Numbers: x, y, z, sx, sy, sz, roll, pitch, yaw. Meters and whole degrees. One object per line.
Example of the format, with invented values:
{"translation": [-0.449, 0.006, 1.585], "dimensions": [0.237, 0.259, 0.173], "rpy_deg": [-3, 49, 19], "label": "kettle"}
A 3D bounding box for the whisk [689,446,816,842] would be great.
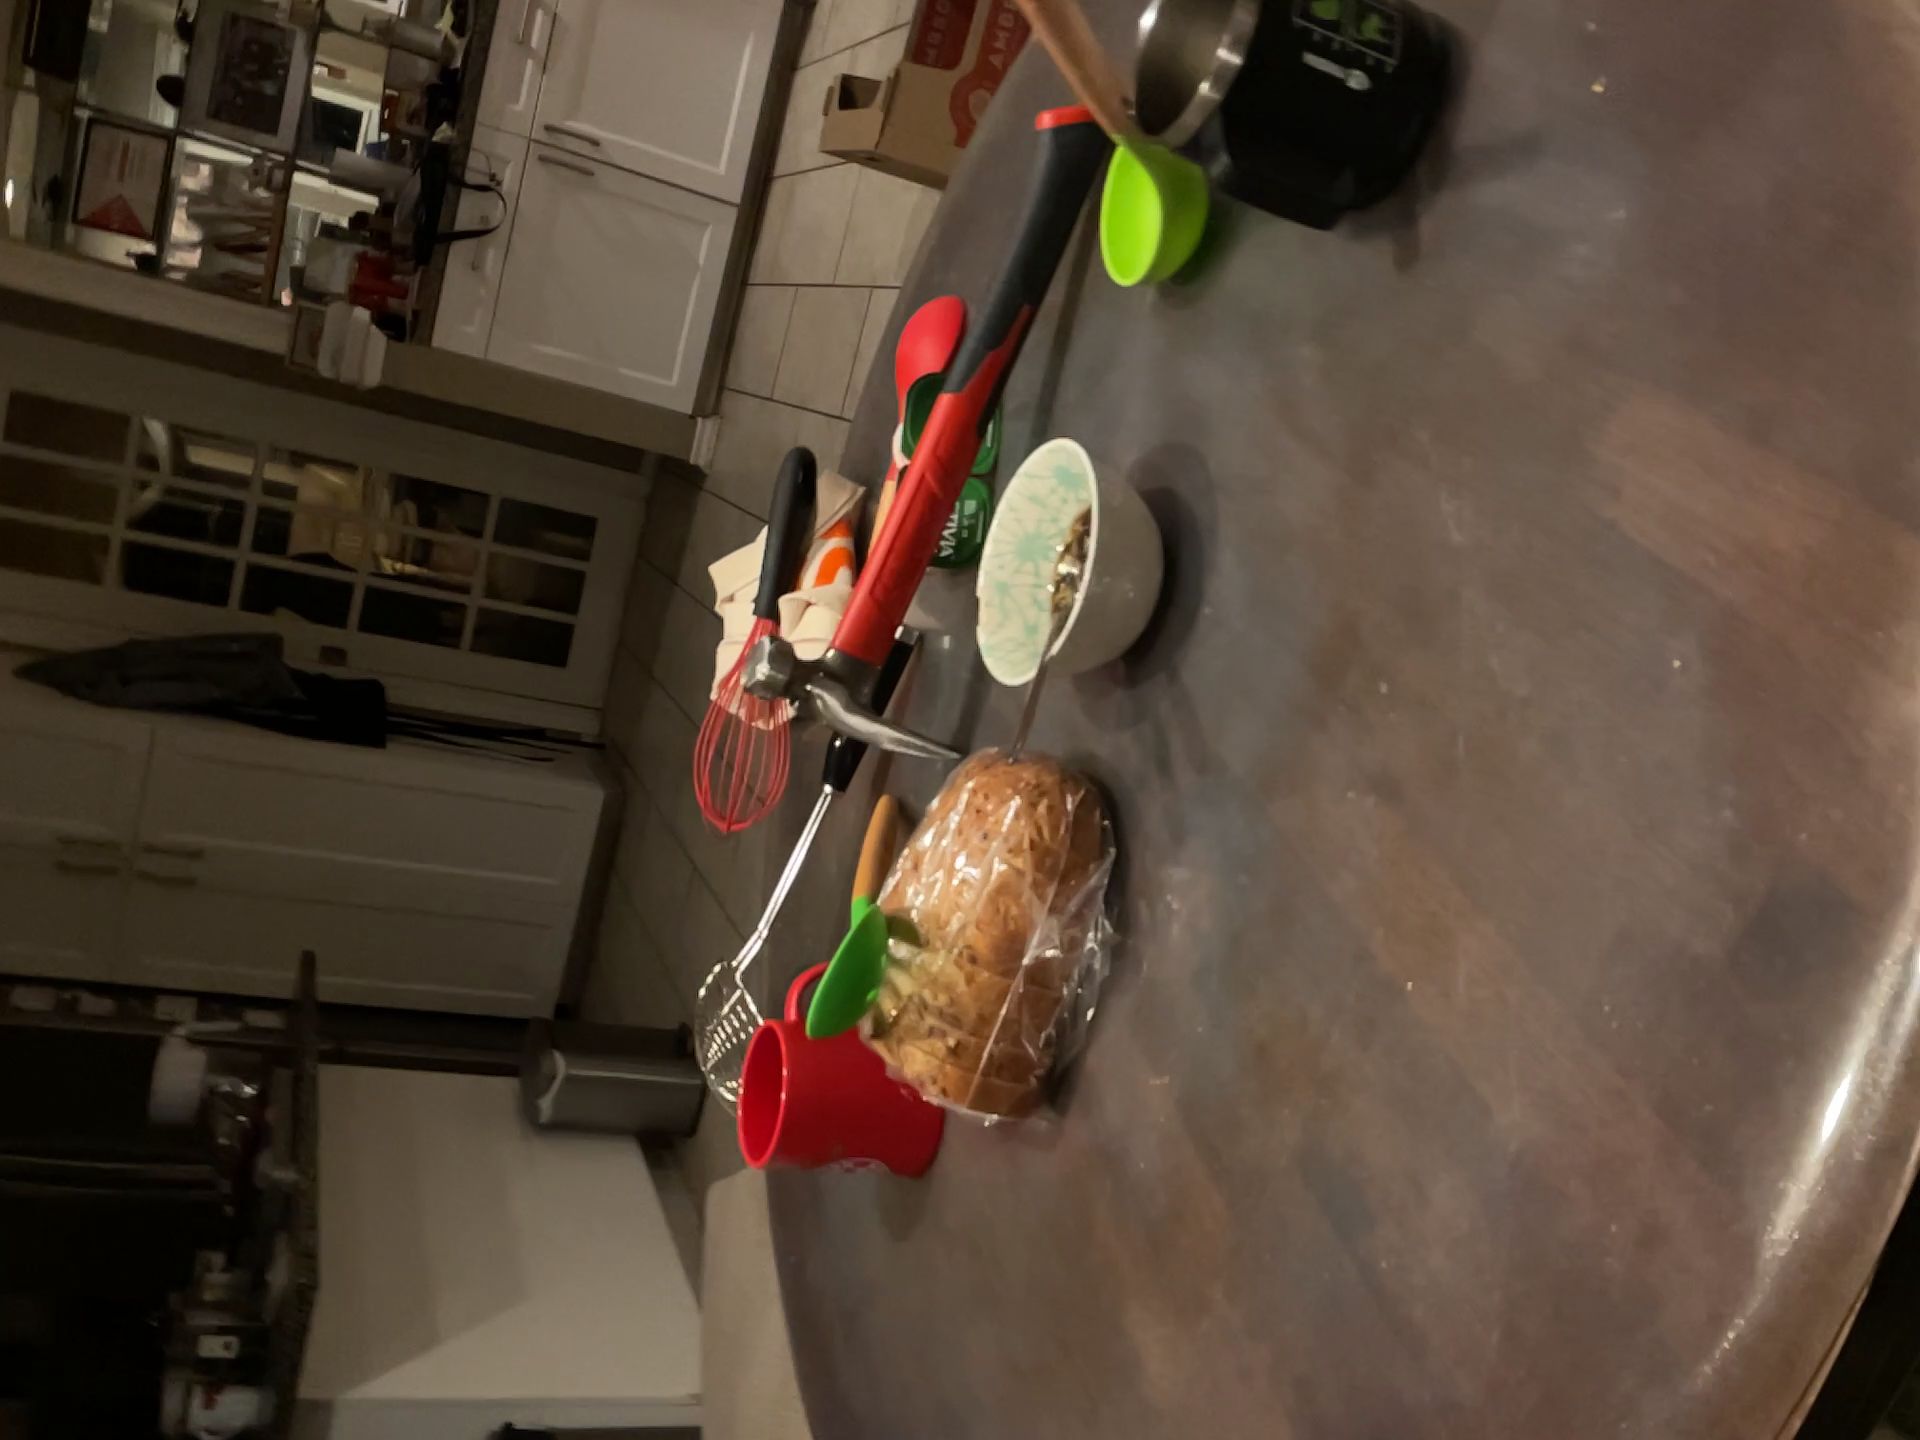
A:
{"translation": [-0.146, -0.056, 1.161], "dimensions": [0.073, 0.073, 0.296], "rpy_deg": [-165, 87, -67], "label": "whisk"}

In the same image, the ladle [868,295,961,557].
{"translation": [-0.049, -0.142, 1.107], "dimensions": [0.069, 0.031, 0.315], "rpy_deg": [-151, 71, -65], "label": "ladle"}

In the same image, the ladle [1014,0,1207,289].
{"translation": [0.048, -0.265, 0.676], "dimensions": [0.062, 0.320, 0.078], "rpy_deg": [-6, 84, 21], "label": "ladle"}

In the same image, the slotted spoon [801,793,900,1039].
{"translation": [-0.050, 0.093, 0.884], "dimensions": [0.314, 0.031, 0.070], "rpy_deg": [-83, 15, -75], "label": "slotted spoon"}

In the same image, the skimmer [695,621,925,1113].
{"translation": [-0.088, 0.108, 1.084], "dimensions": [0.127, 0.090, 0.363], "rpy_deg": [37, 104, 55], "label": "skimmer"}

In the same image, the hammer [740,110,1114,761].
{"translation": [0.013, -0.166, 0.921], "dimensions": [0.386, 0.143, 0.038], "rpy_deg": [-66, 26, 2], "label": "hammer"}
